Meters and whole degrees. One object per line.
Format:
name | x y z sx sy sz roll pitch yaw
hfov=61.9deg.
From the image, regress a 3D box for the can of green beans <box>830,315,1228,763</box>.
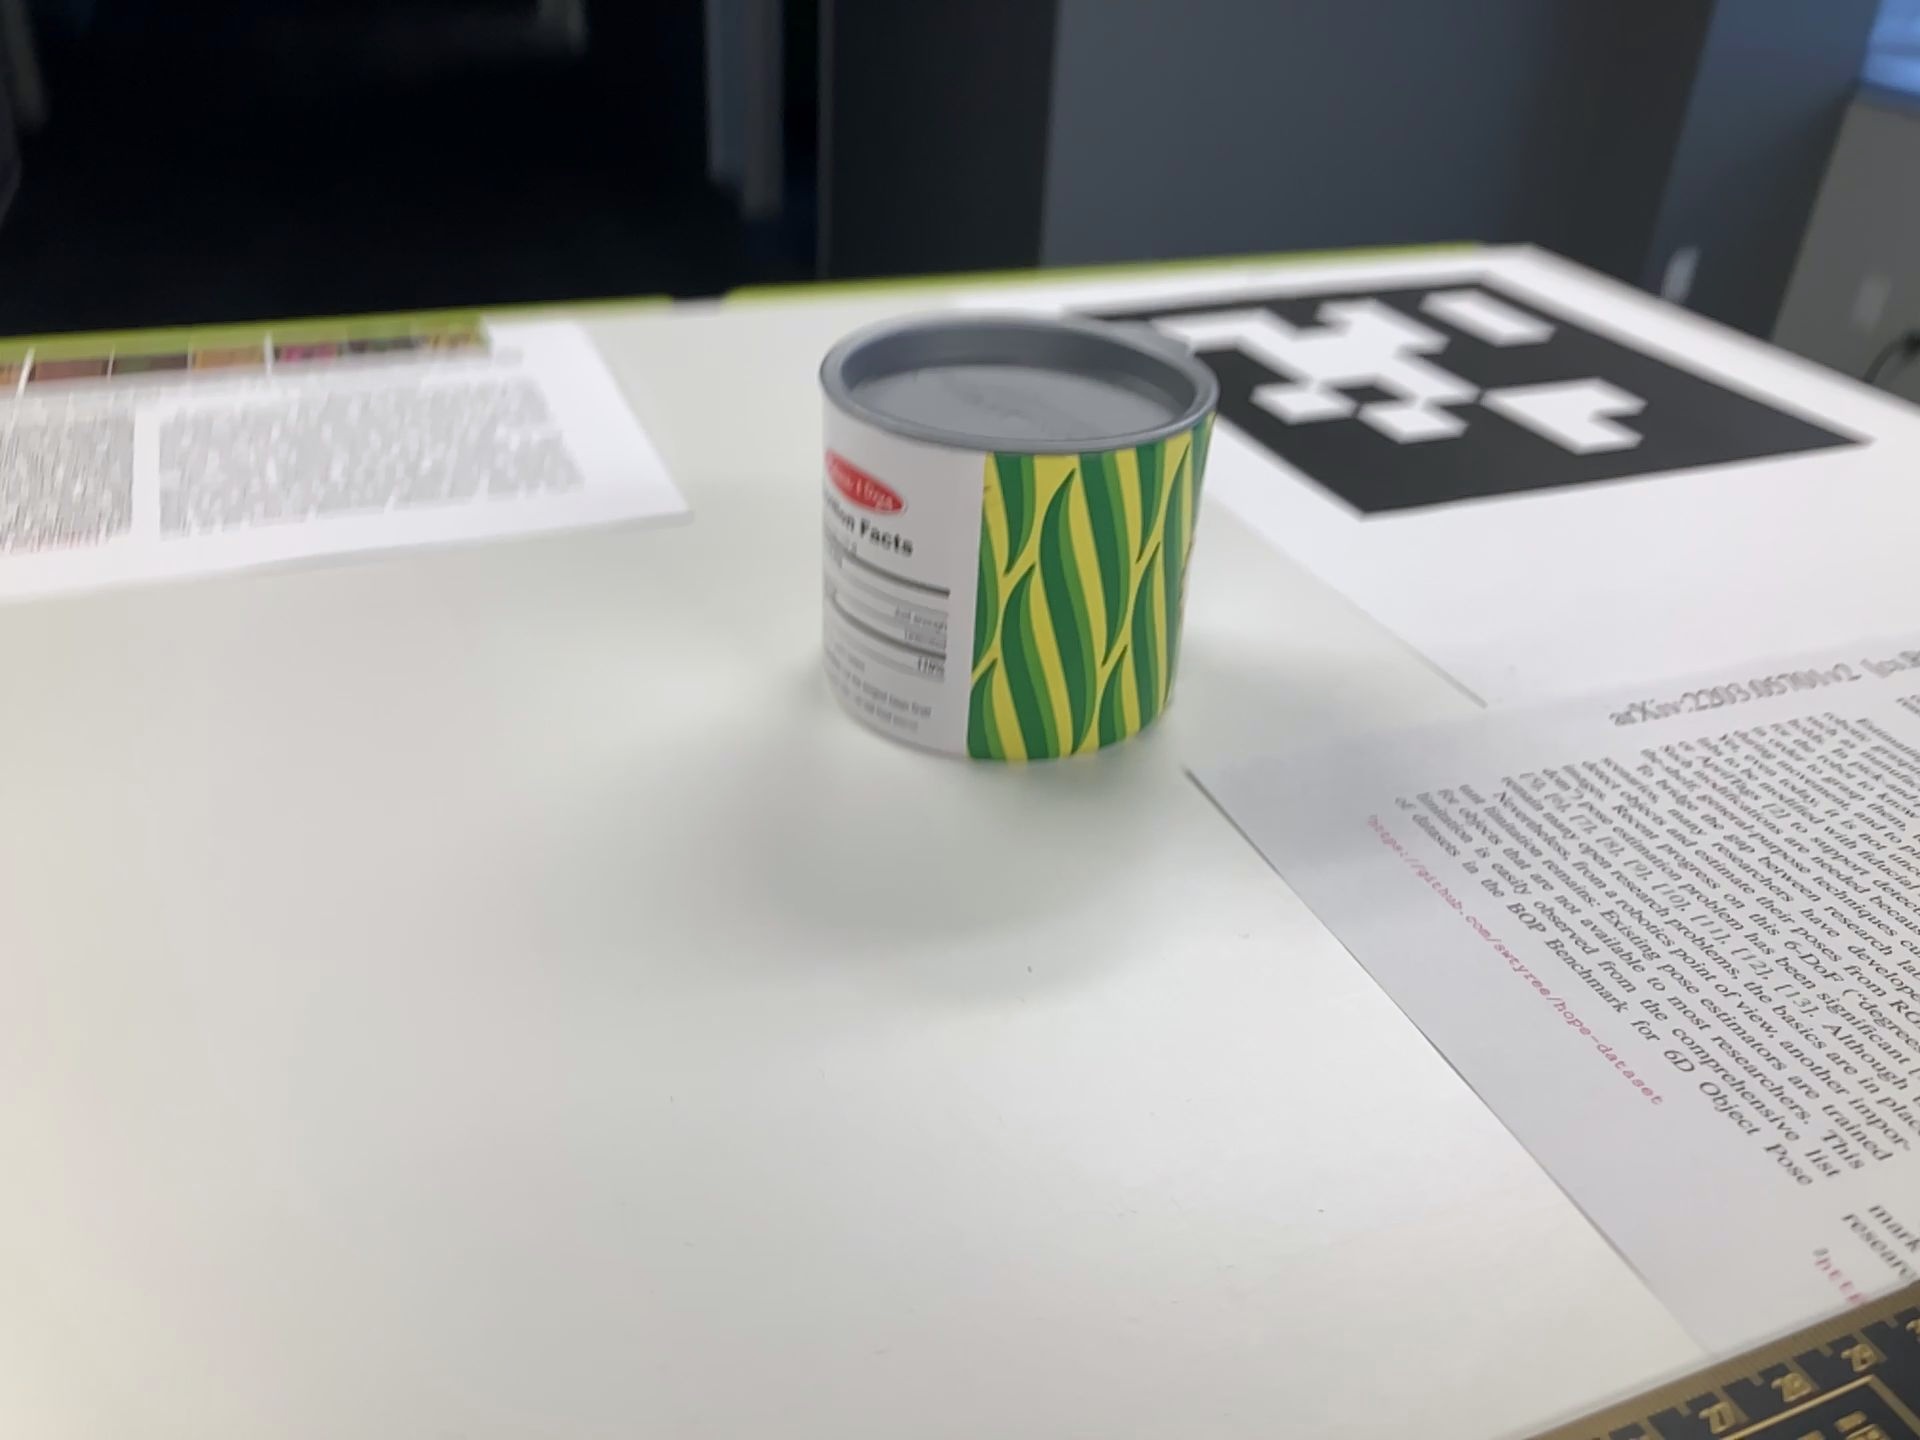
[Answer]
can of green beans | 0.010 -0.033 0.282 0.071 0.058 0.071 2 31 -1
